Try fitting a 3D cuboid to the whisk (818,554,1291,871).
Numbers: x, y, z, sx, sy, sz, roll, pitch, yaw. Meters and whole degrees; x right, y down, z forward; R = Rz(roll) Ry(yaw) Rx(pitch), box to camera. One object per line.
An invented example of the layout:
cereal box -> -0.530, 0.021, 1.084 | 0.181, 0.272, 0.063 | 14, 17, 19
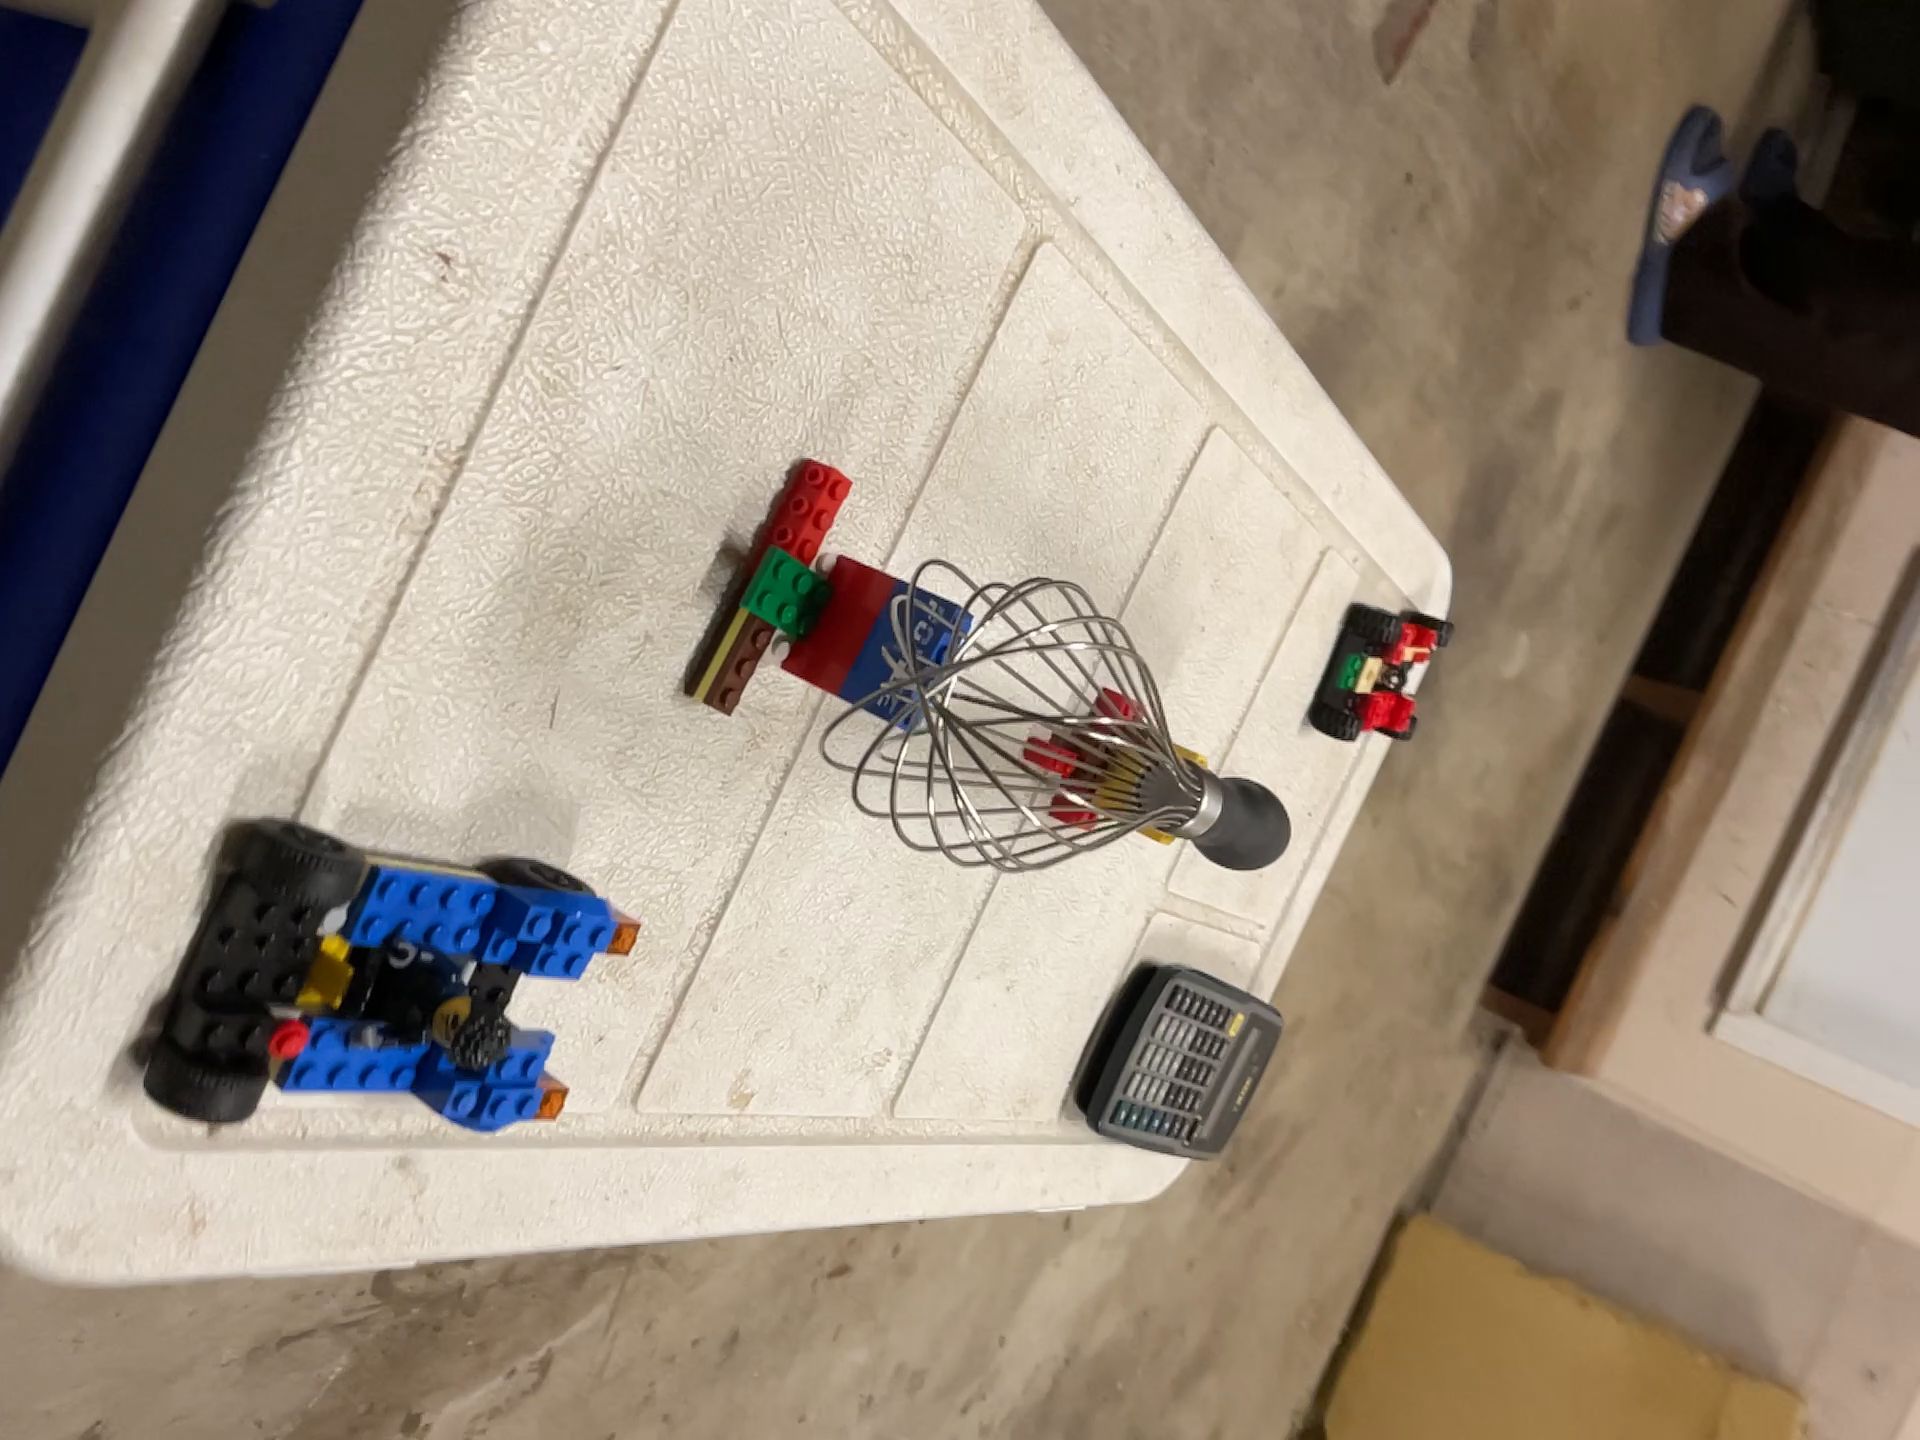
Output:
whisk -> 0.049, 0.016, 0.426 | 0.284, 0.070, 0.070 | 22, 88, -64
